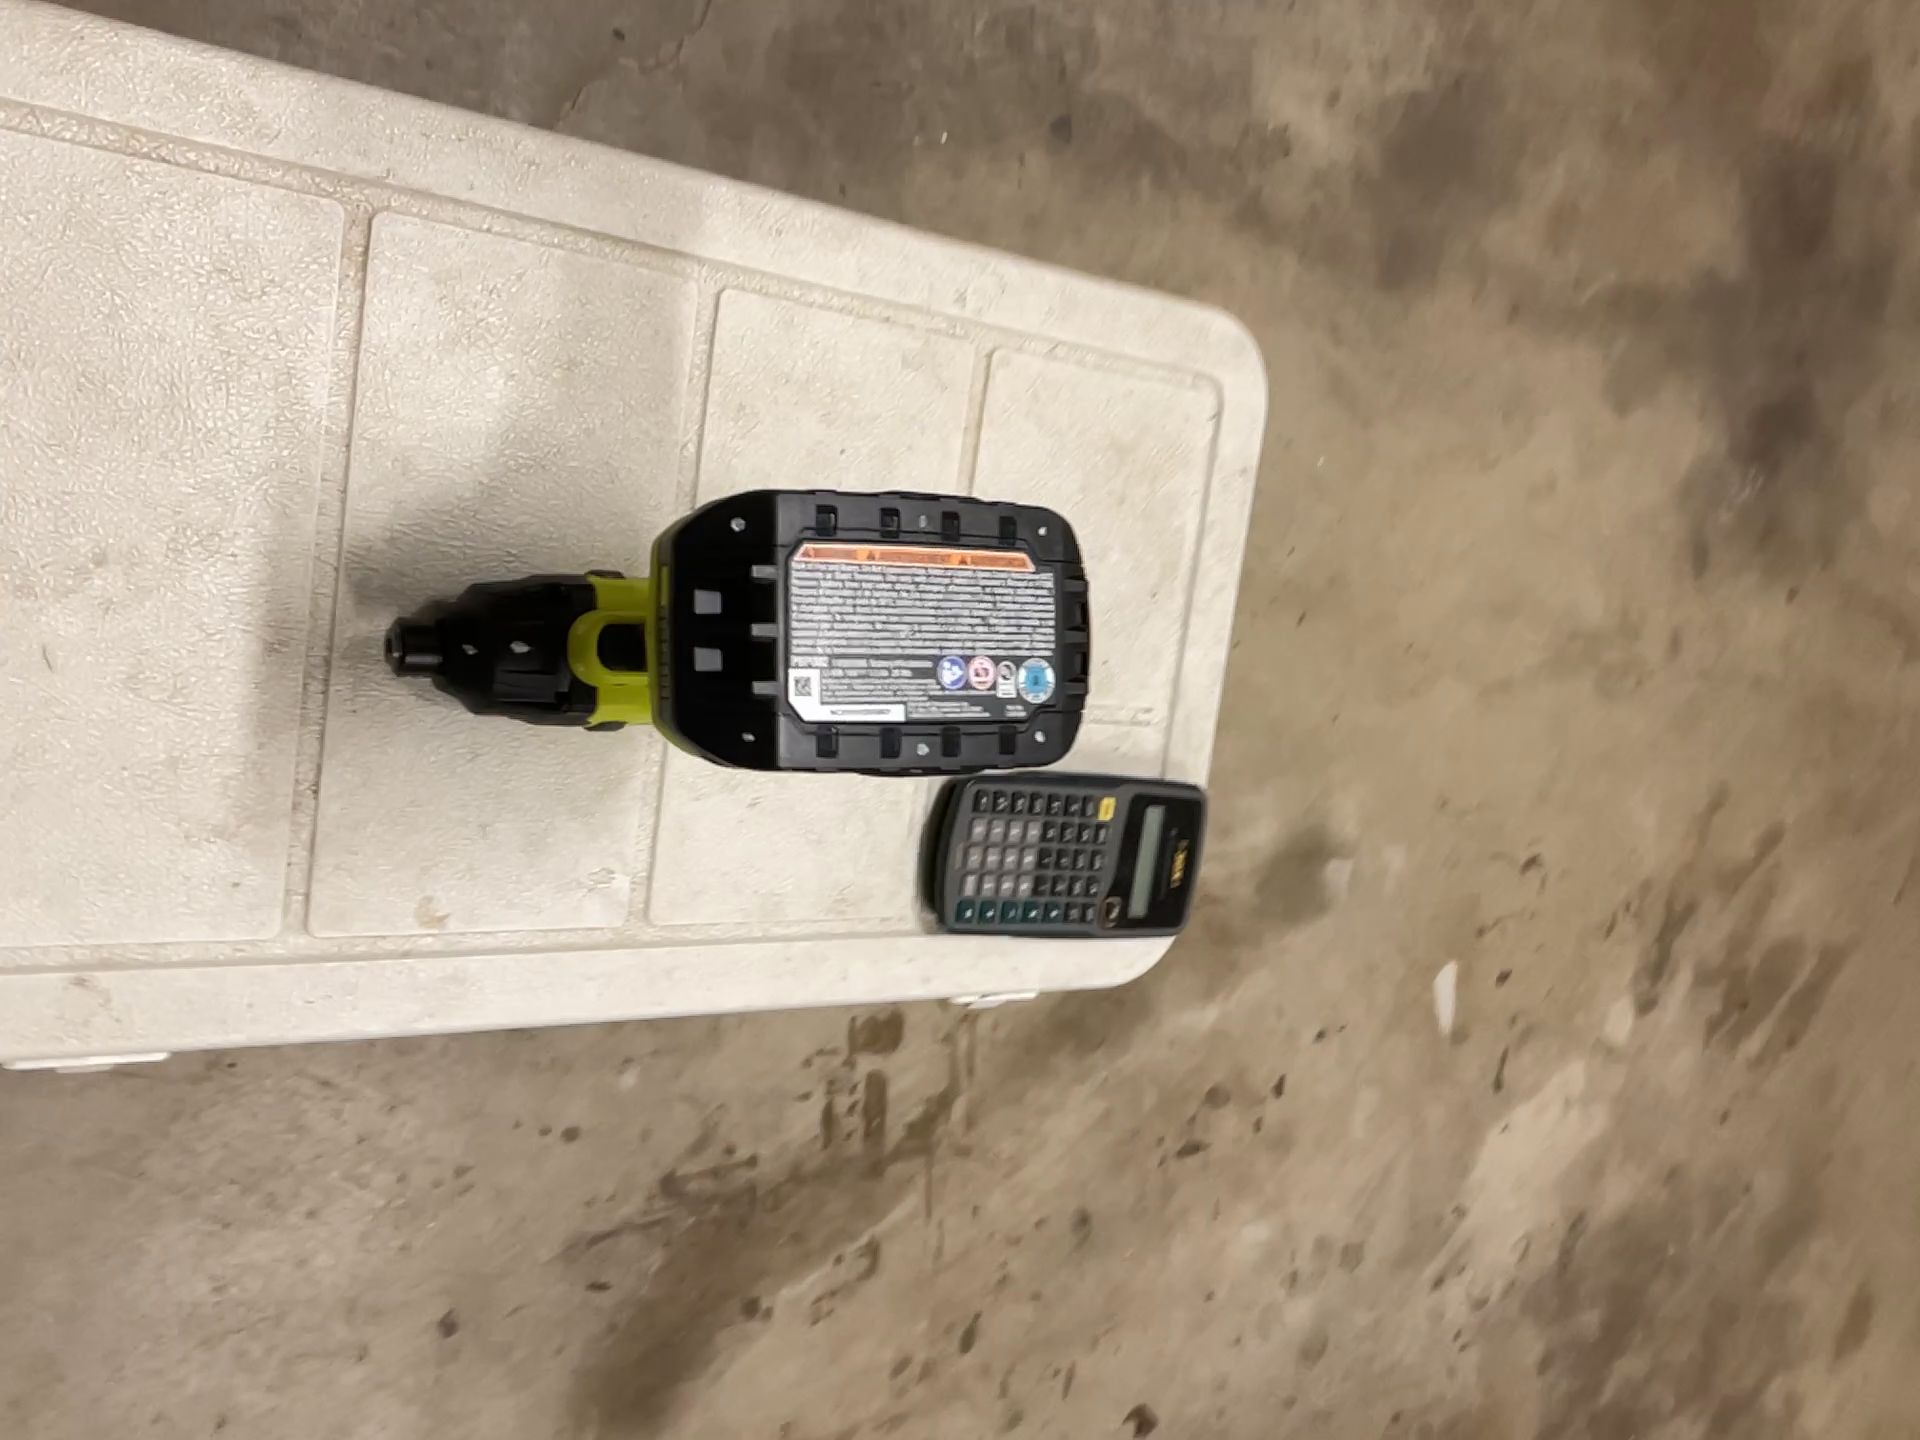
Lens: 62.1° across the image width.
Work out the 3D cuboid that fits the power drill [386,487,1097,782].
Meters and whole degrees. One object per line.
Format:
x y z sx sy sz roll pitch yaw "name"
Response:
-0.077 -0.024 0.524 0.171 0.223 0.080 0 90 -34 "power drill"
